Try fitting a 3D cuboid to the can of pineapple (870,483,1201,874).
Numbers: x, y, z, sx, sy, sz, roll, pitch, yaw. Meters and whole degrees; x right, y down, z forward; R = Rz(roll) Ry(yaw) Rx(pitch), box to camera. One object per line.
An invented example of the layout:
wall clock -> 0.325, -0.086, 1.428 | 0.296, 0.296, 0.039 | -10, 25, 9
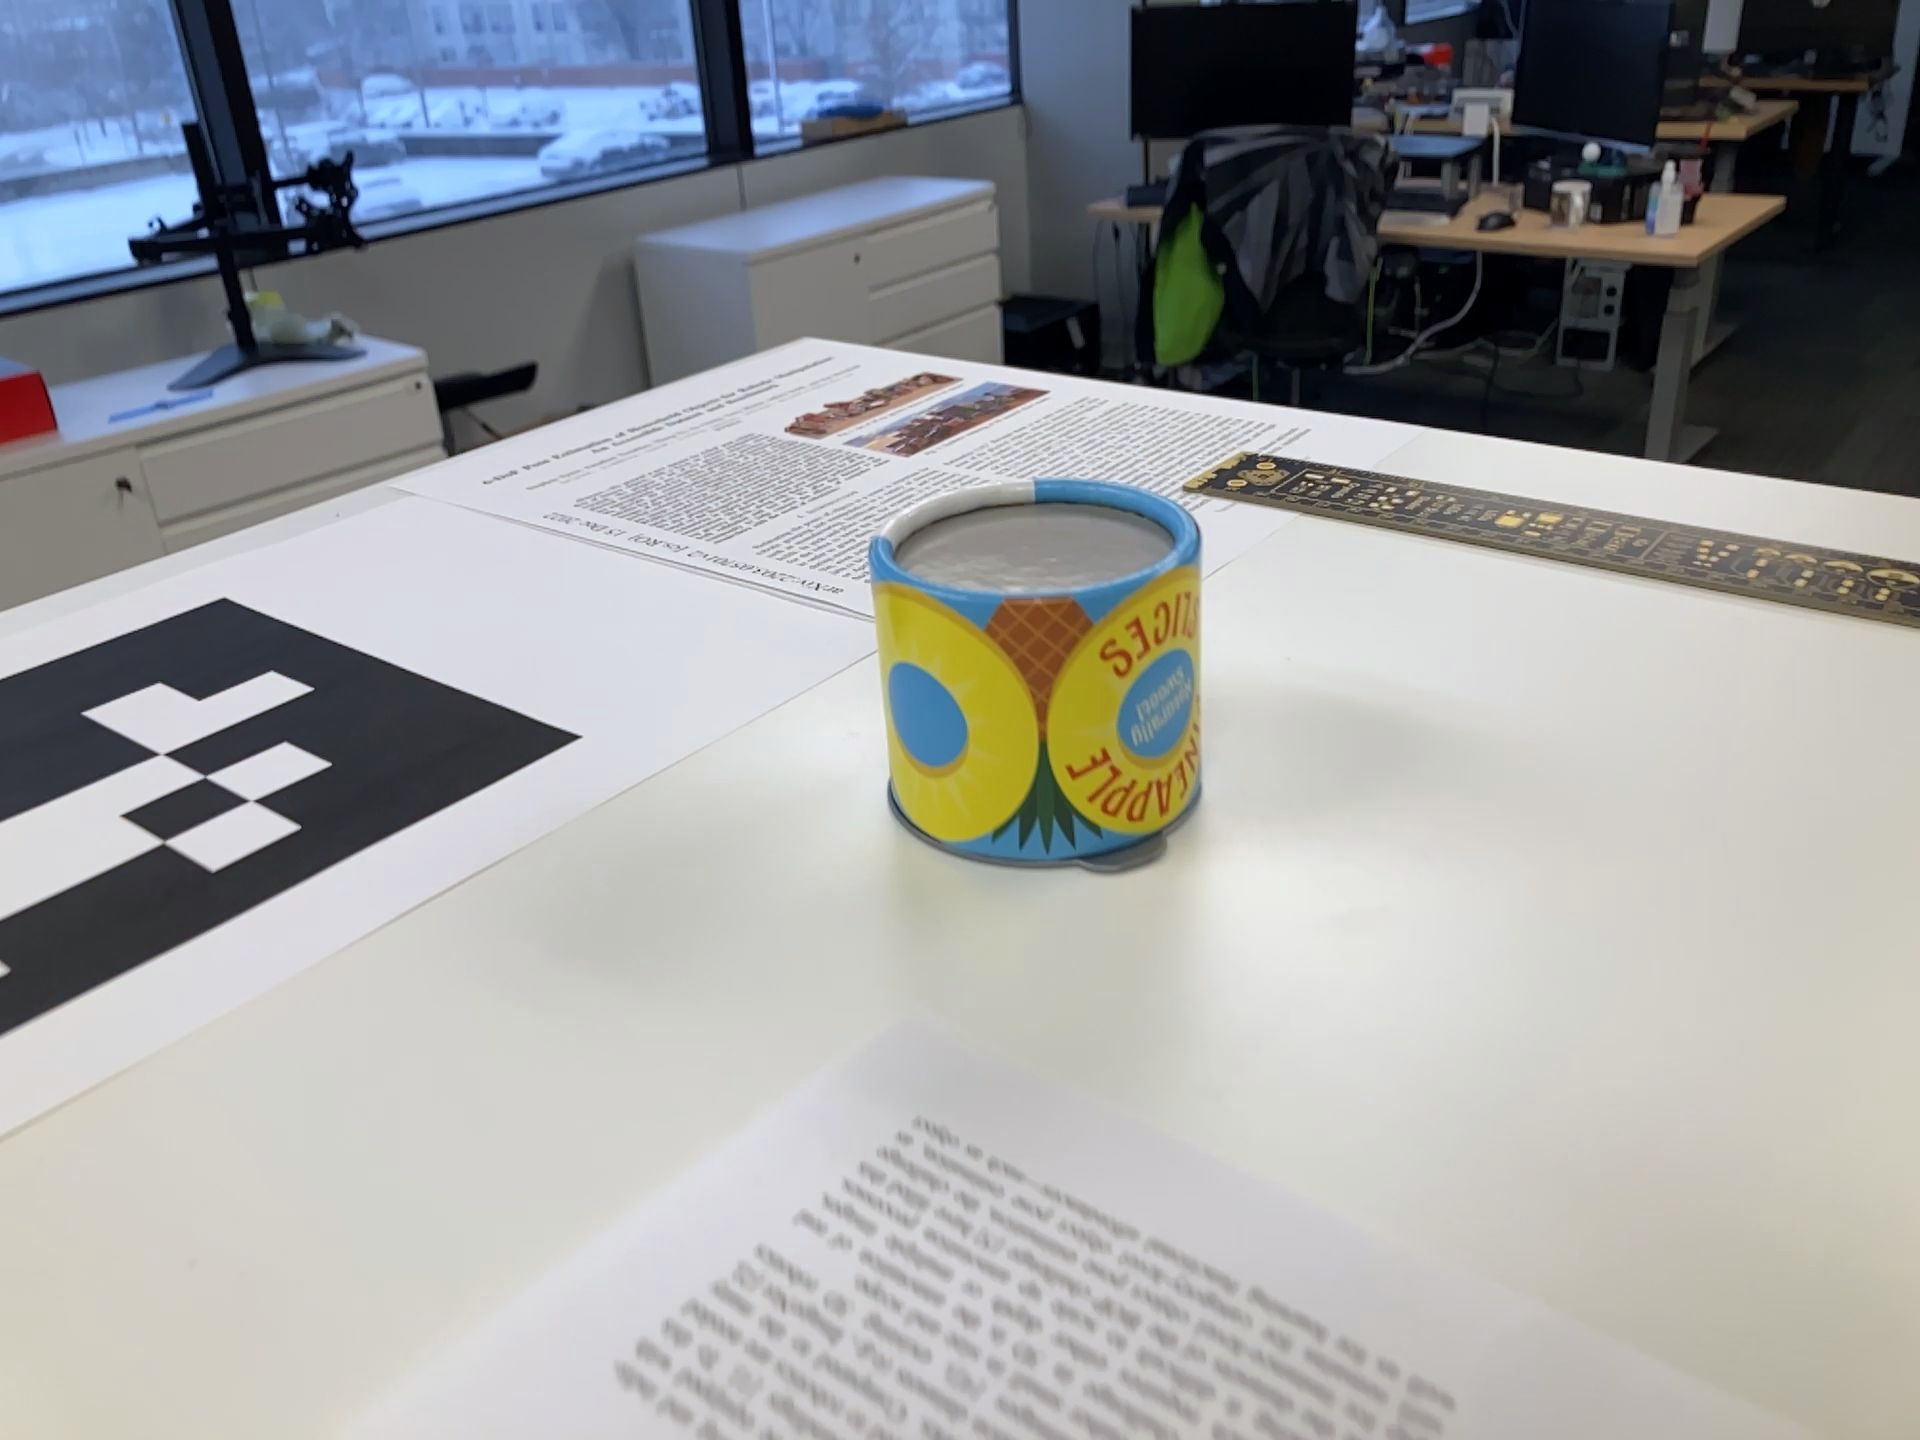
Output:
can of pineapple -> 0.017, -0.011, 0.324 | 0.071, 0.058, 0.071 | -3, 28, 2
